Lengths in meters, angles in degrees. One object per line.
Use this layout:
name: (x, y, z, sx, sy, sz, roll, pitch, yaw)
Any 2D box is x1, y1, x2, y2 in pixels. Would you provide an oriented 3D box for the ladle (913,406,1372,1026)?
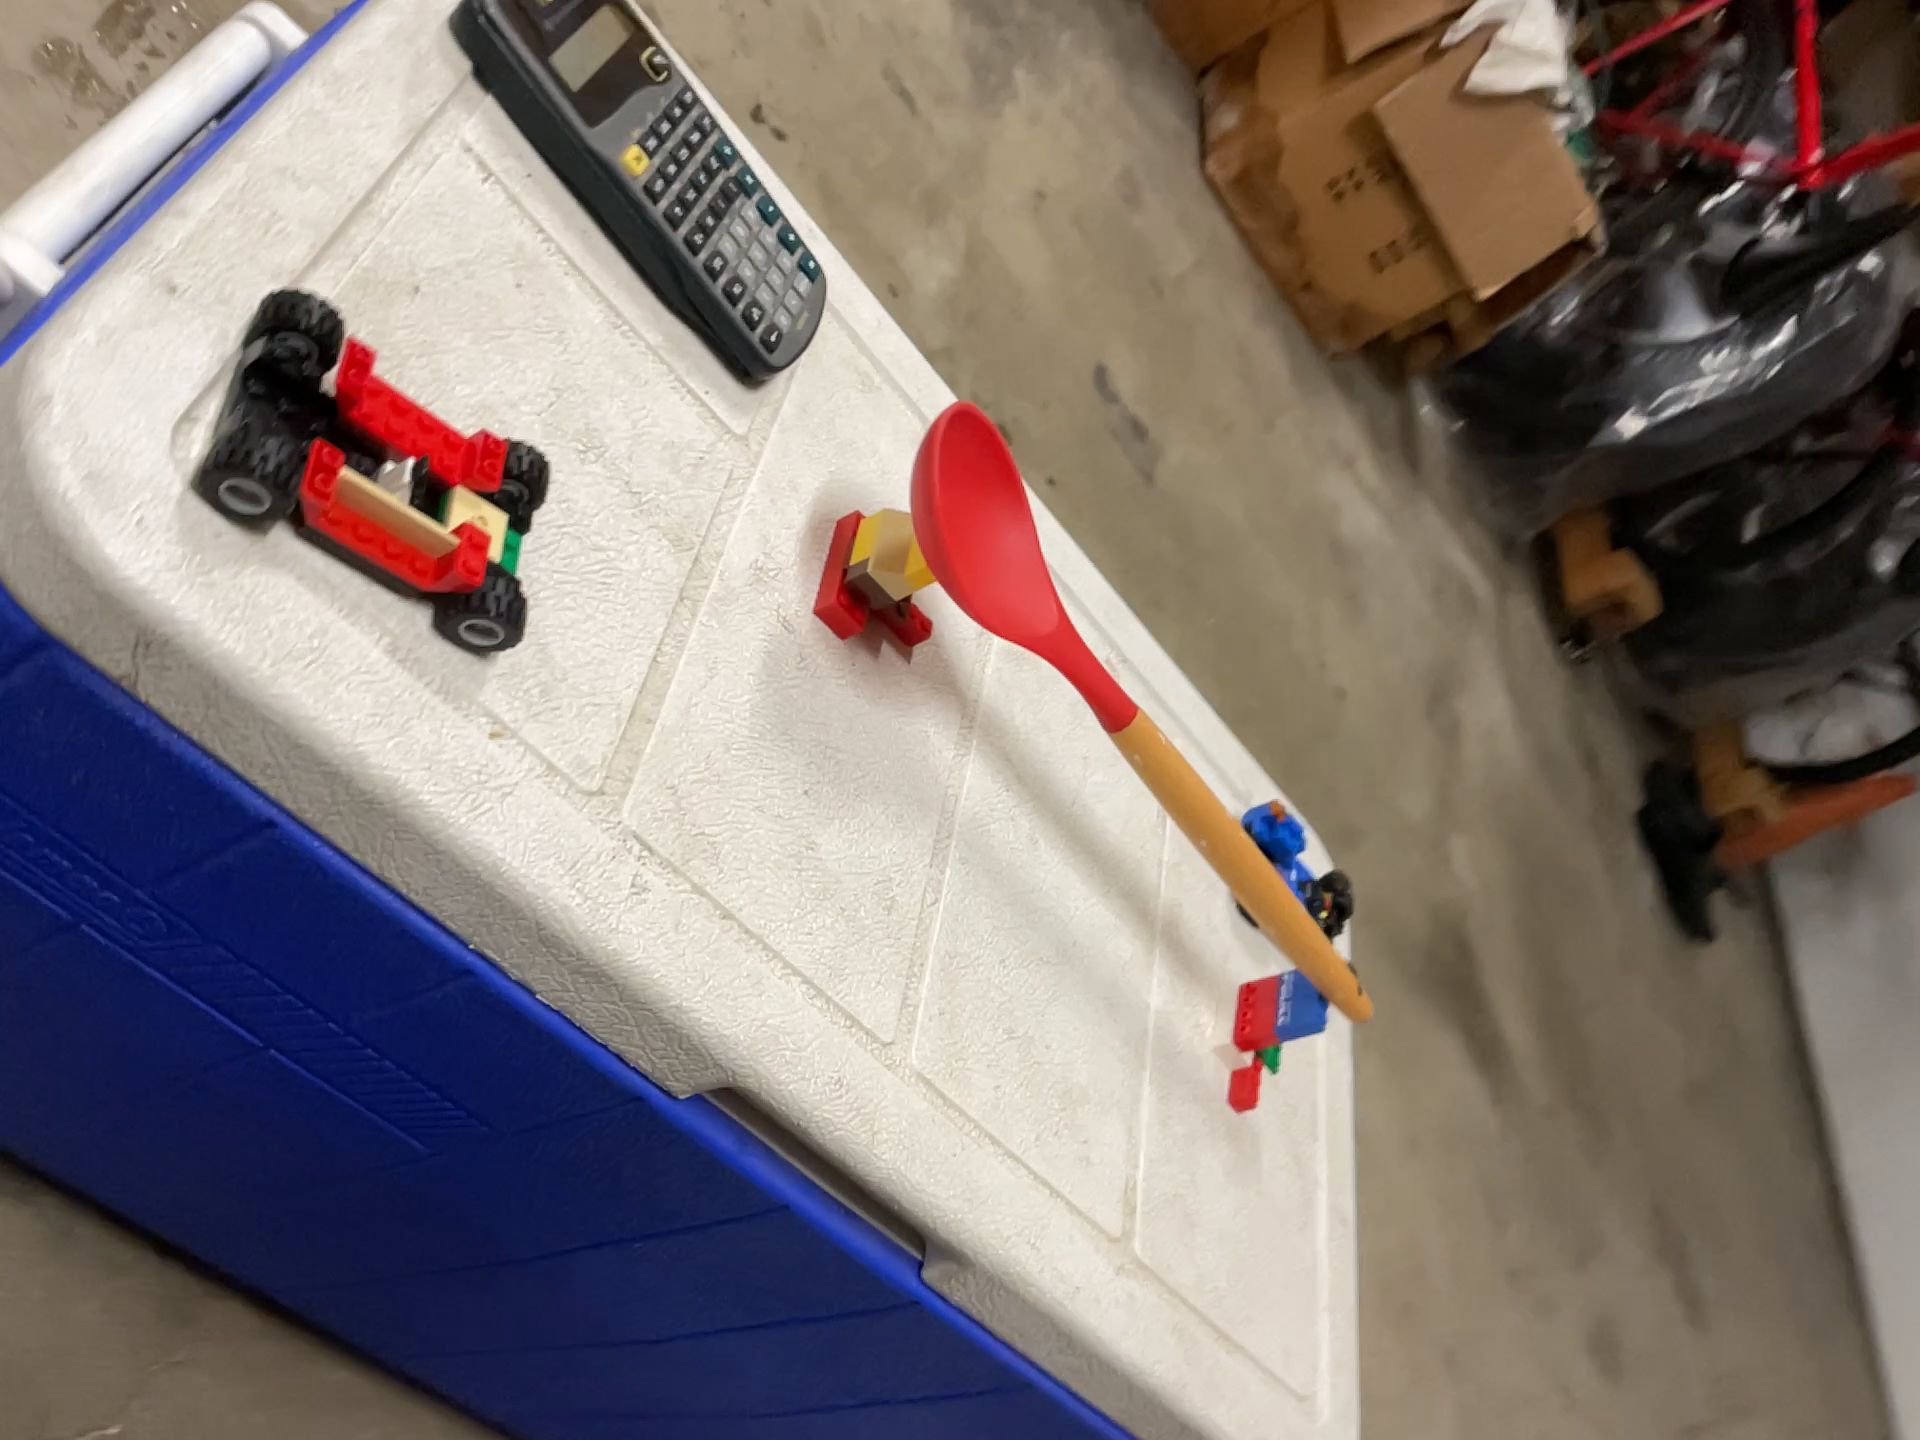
ladle: (0.074, 0.016, 0.581, 0.315, 0.031, 0.069, 49, 41, -28)
